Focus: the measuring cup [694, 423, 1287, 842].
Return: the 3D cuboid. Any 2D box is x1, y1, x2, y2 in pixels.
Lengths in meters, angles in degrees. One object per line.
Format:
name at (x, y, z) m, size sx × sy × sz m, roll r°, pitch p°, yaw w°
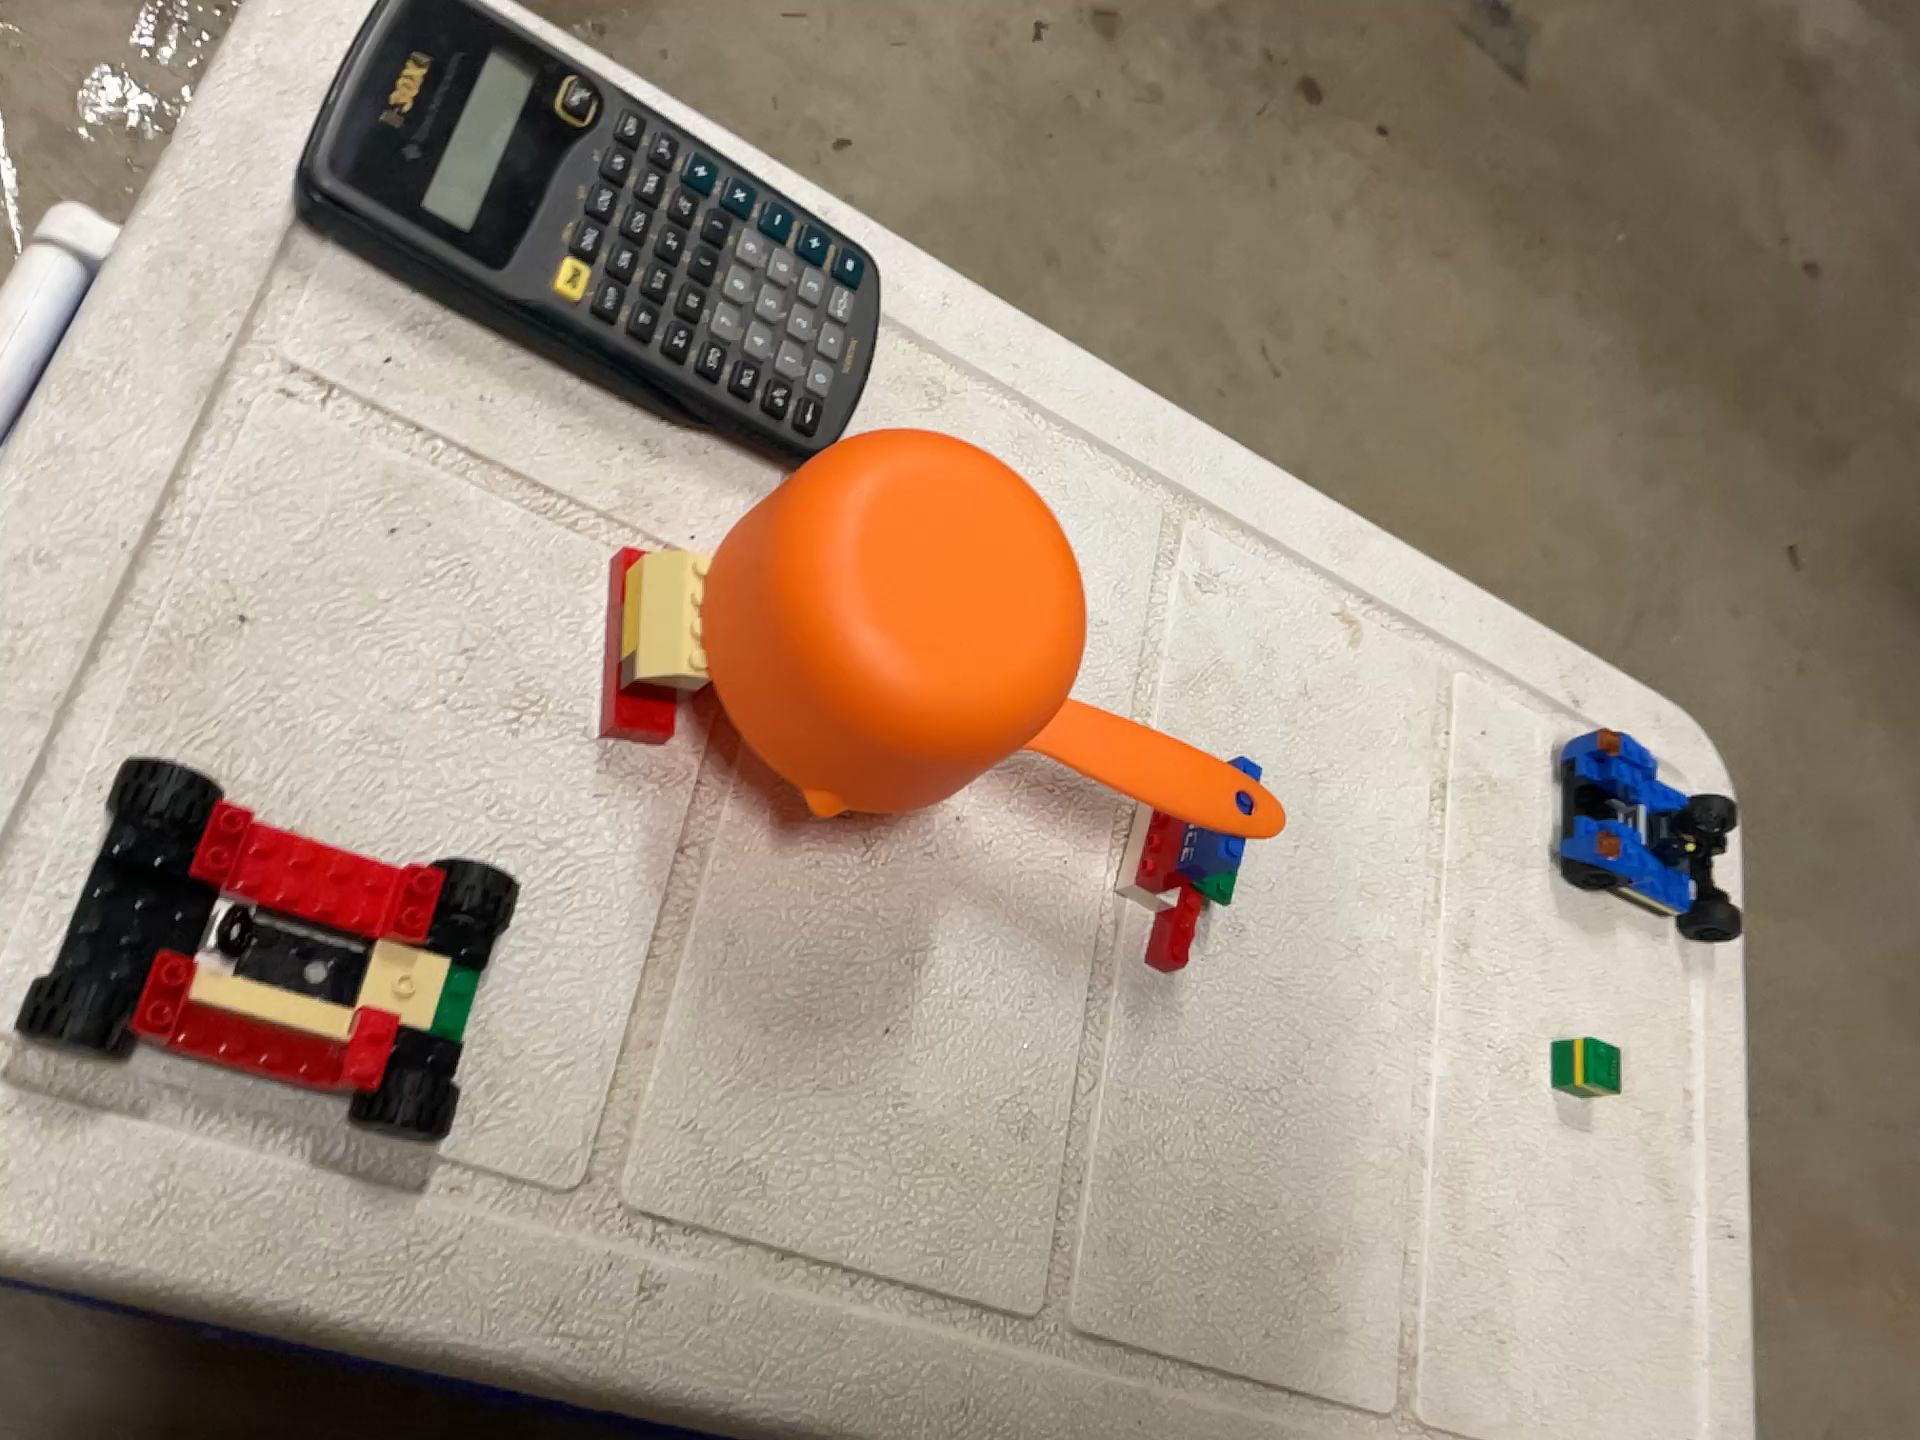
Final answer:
measuring cup at (0.023, -0.010, 0.392) m, size 0.173 × 0.052 × 0.095 m, roll 23°, pitch 63°, yaw -19°
